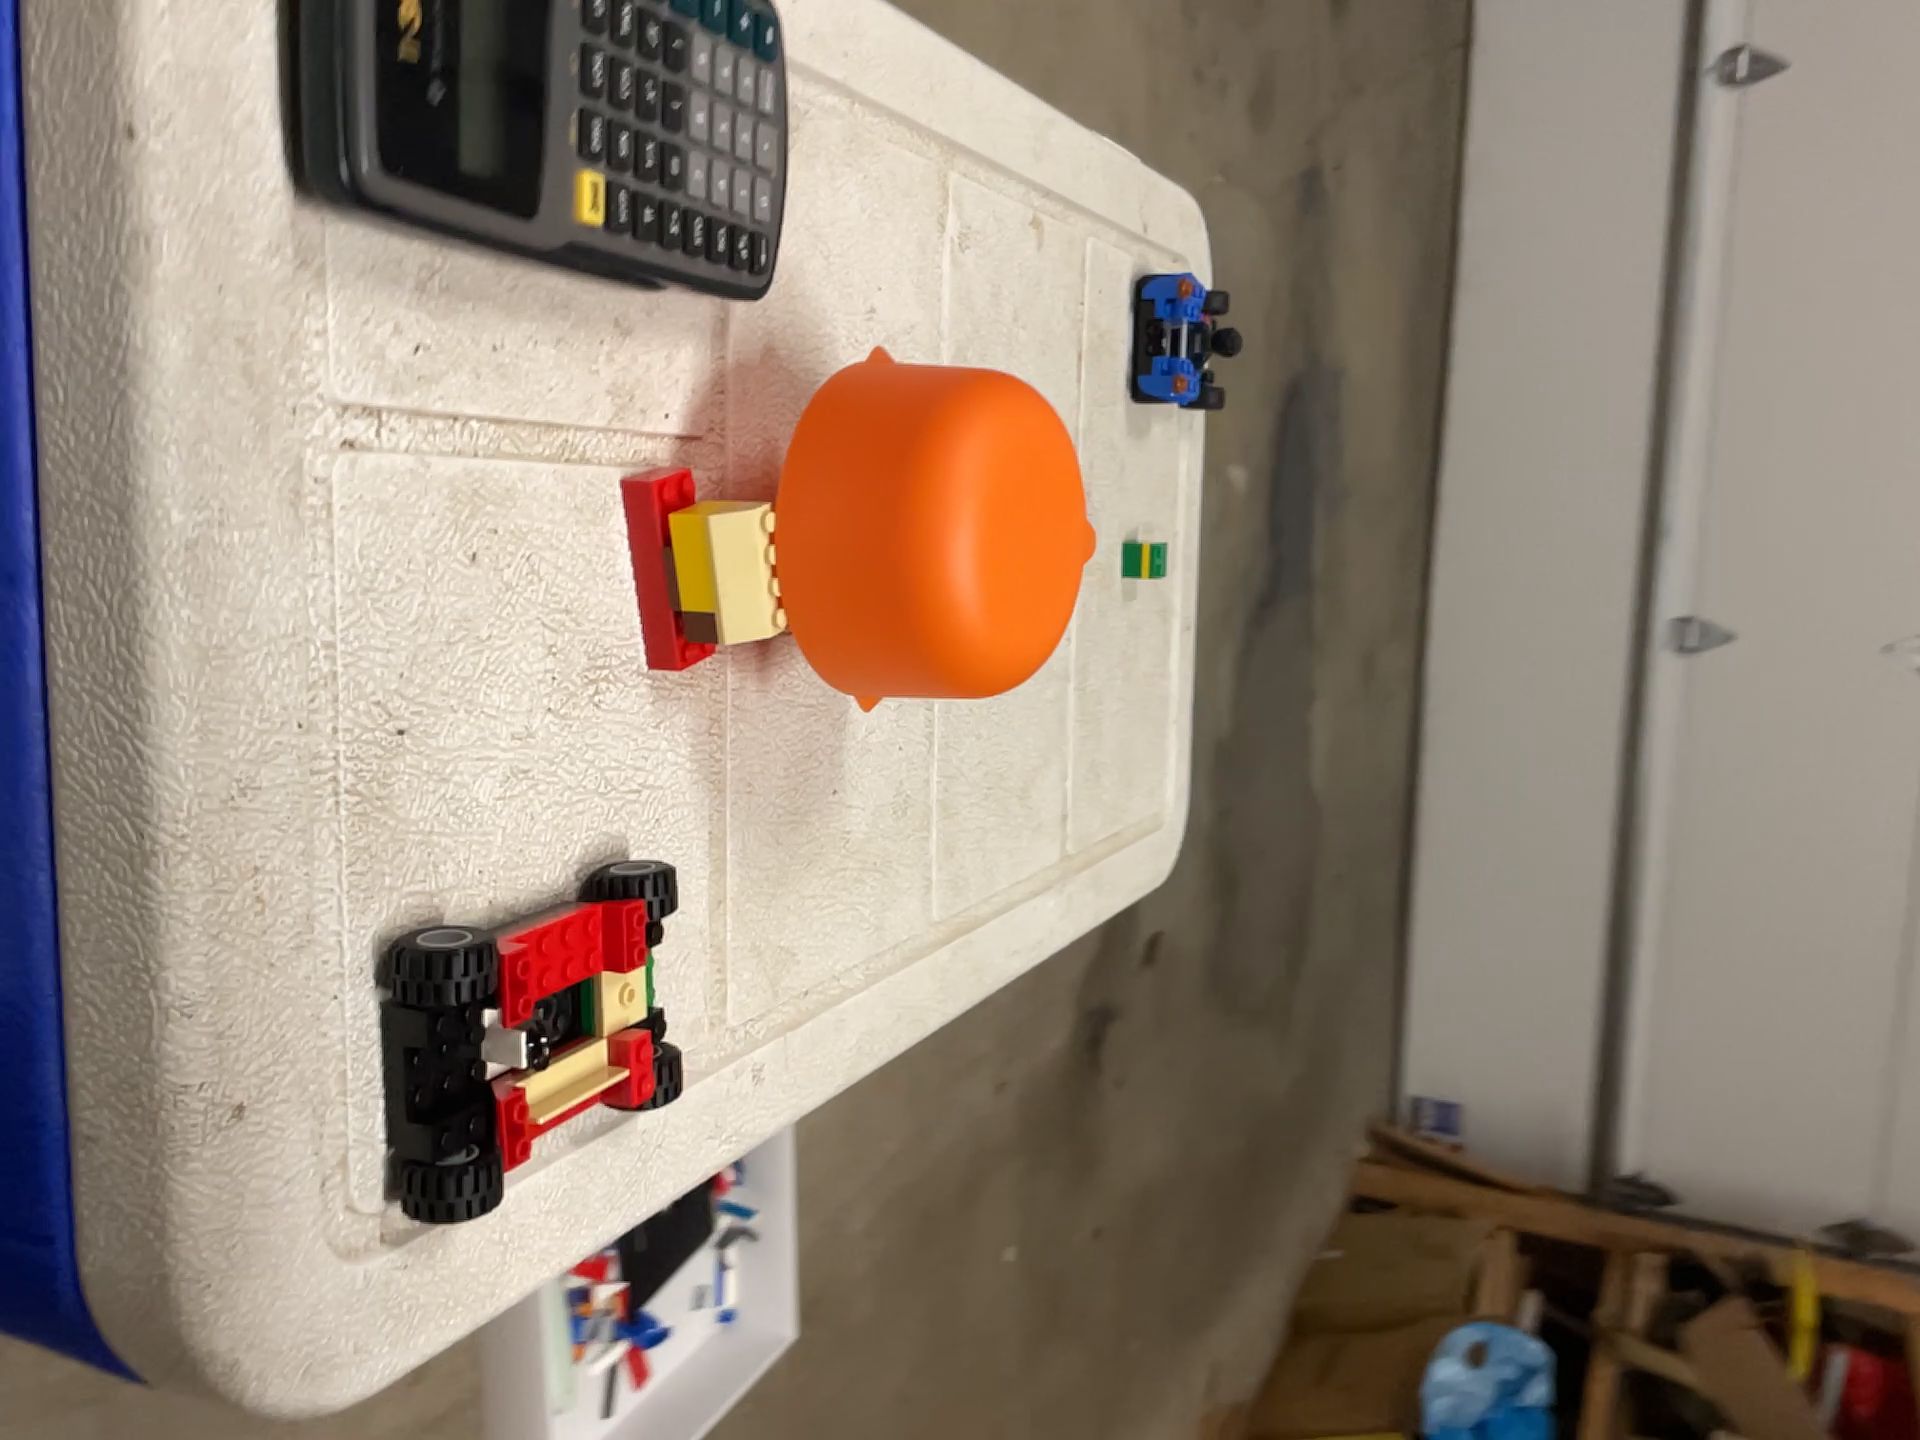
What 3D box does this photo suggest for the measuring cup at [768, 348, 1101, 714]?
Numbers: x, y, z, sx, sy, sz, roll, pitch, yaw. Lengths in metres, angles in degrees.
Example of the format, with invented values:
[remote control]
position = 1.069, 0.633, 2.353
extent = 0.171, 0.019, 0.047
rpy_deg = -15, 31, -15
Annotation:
[measuring cup]
position = 0.019, -0.049, 0.443
extent = 0.173, 0.052, 0.095
rpy_deg = -7, 102, -58
